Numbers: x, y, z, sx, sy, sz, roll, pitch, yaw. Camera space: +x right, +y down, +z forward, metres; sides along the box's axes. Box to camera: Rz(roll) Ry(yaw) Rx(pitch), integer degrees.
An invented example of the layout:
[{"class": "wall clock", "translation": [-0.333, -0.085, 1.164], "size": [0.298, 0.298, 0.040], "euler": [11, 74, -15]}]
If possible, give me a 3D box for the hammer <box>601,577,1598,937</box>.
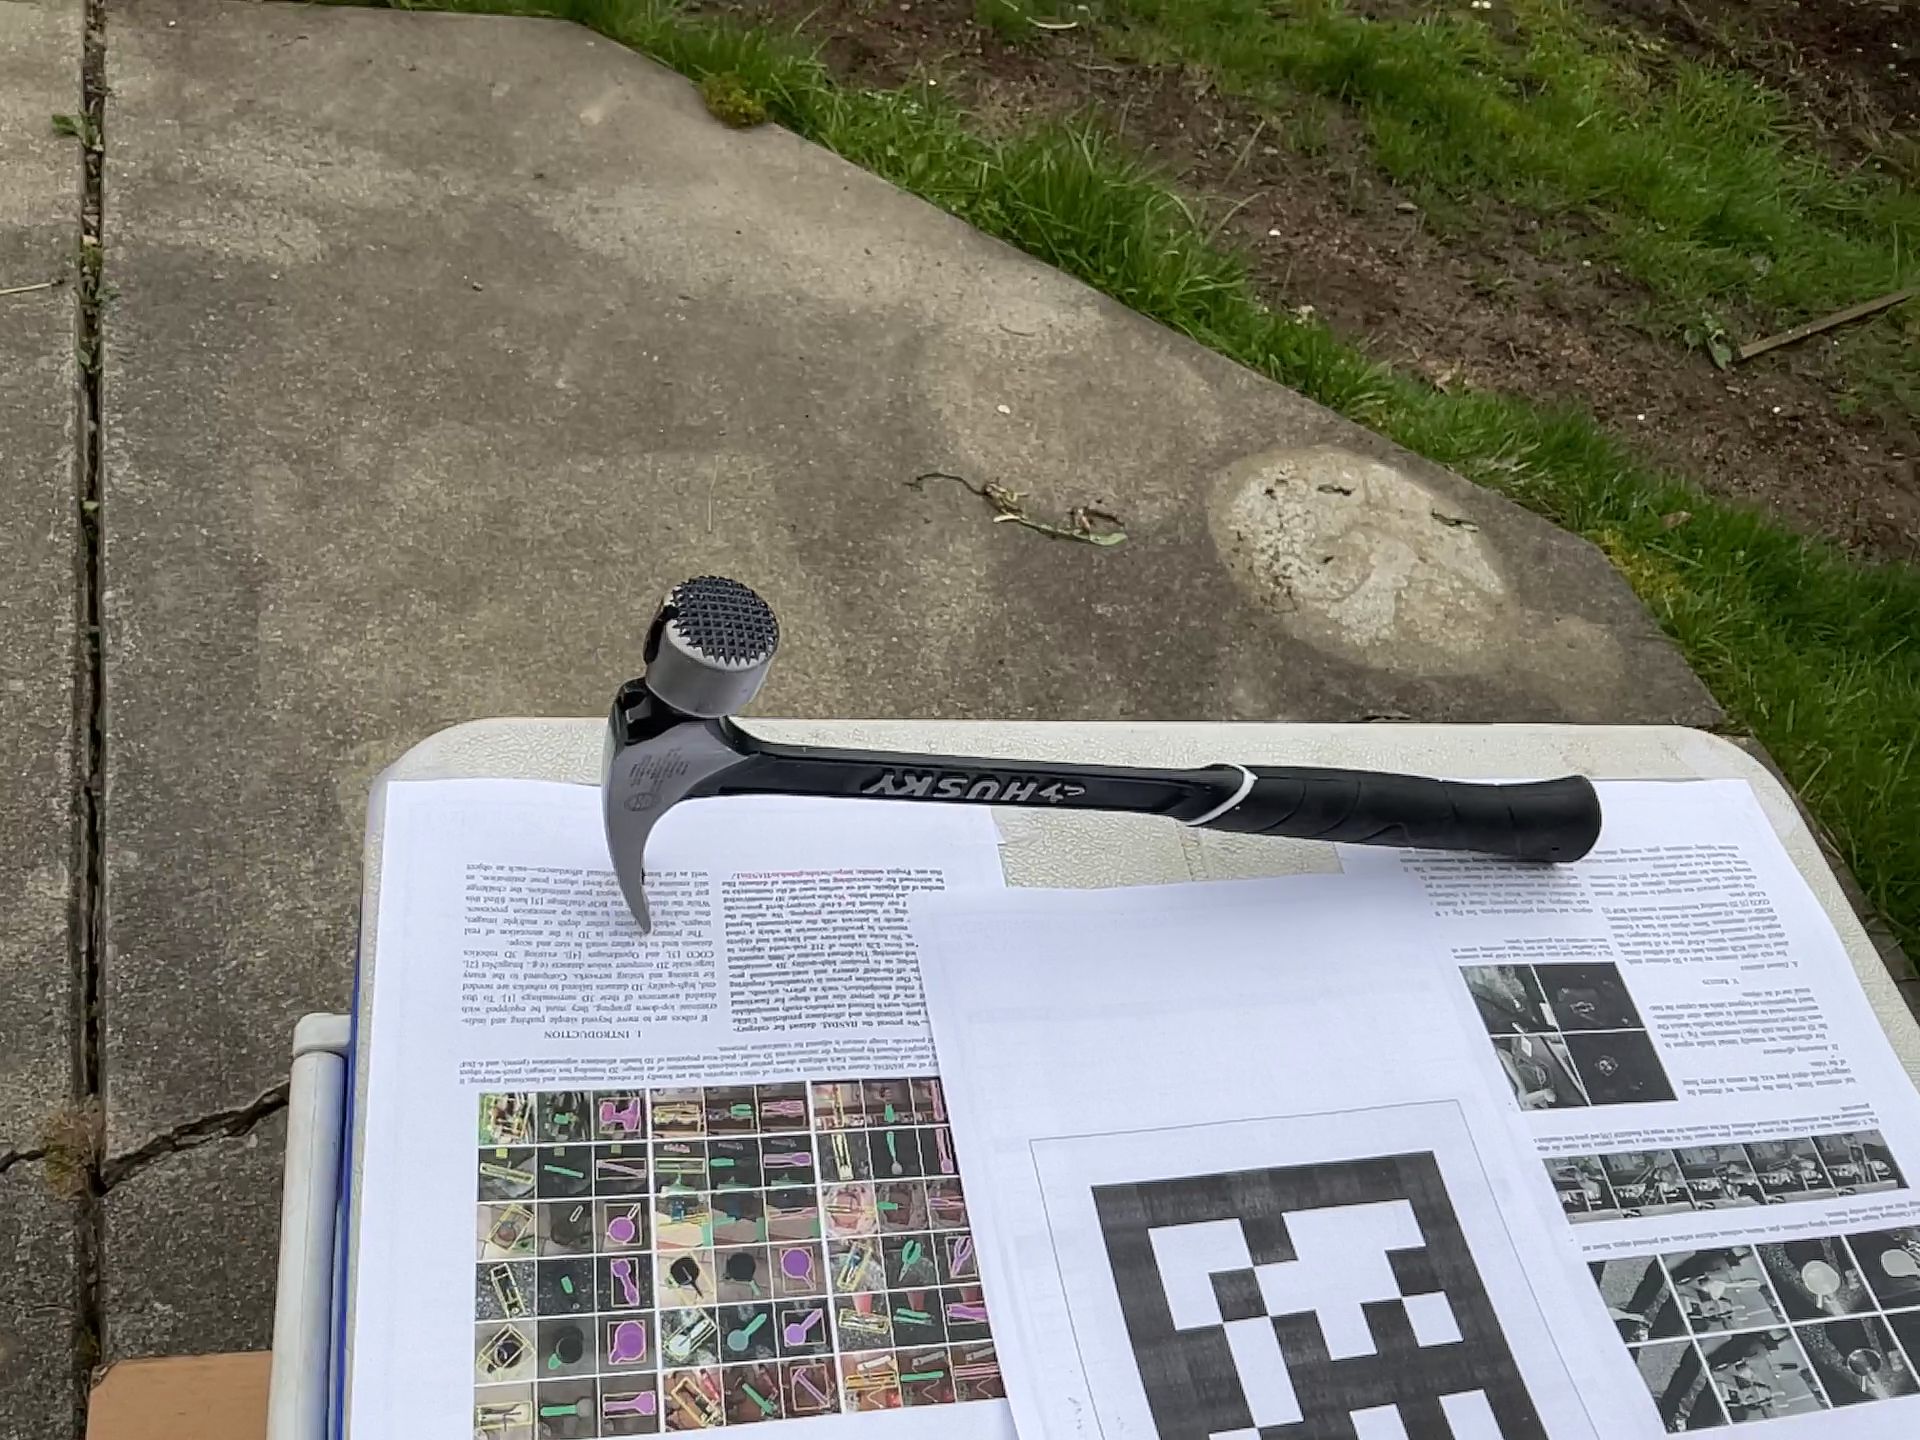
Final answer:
[{"class": "hammer", "translation": [0.072, 0.031, 0.575], "size": [0.408, 0.149, 0.036], "euler": [5, 51, -26]}]
